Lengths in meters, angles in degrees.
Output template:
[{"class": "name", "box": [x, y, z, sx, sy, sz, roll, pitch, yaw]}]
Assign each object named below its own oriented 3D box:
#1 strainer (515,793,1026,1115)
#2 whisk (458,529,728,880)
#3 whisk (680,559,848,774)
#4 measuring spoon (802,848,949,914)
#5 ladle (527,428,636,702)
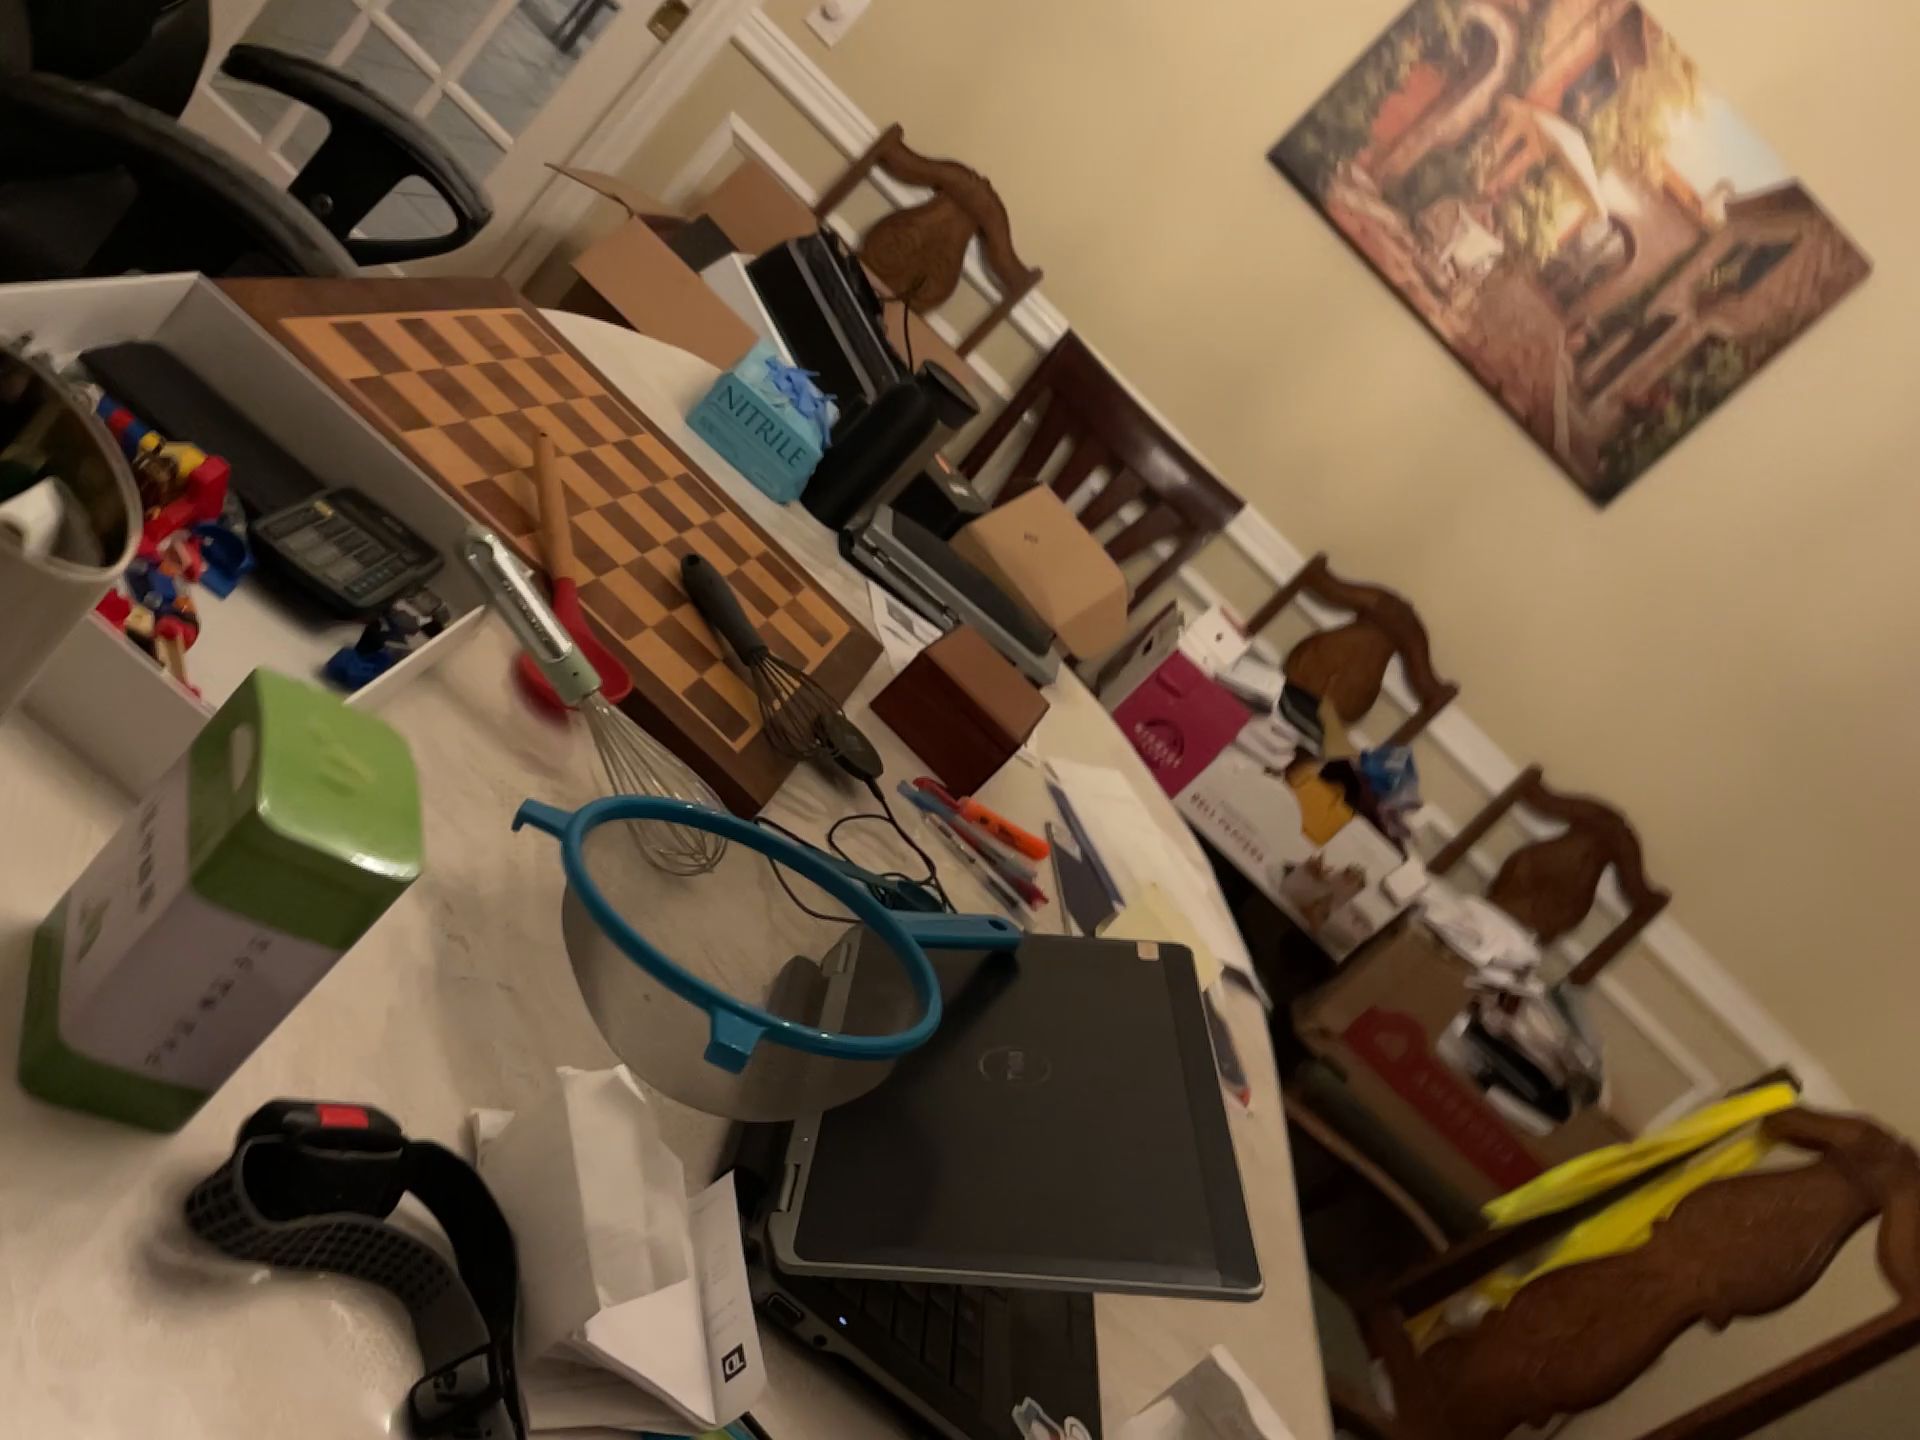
[{"class": "strainer", "box": [-0.082, 0.141, 0.856, 0.211, 0.095, 0.340, 40, 15, 34]}, {"class": "whisk", "box": [-0.213, -0.006, 0.928, 0.246, 0.058, 0.059, 56, -17, -13]}, {"class": "whisk", "box": [-0.155, -0.046, 1.212, 0.239, 0.055, 0.055, 51, 2, 33]}, {"class": "measuring spoon", "box": [-0.066, 0.119, 1.125, 0.128, 0.021, 0.042, 23, 17, -27]}, {"class": "ladle", "box": [-0.273, -0.111, 1.090, 0.069, 0.031, 0.316, 9, 38, -29]}]
